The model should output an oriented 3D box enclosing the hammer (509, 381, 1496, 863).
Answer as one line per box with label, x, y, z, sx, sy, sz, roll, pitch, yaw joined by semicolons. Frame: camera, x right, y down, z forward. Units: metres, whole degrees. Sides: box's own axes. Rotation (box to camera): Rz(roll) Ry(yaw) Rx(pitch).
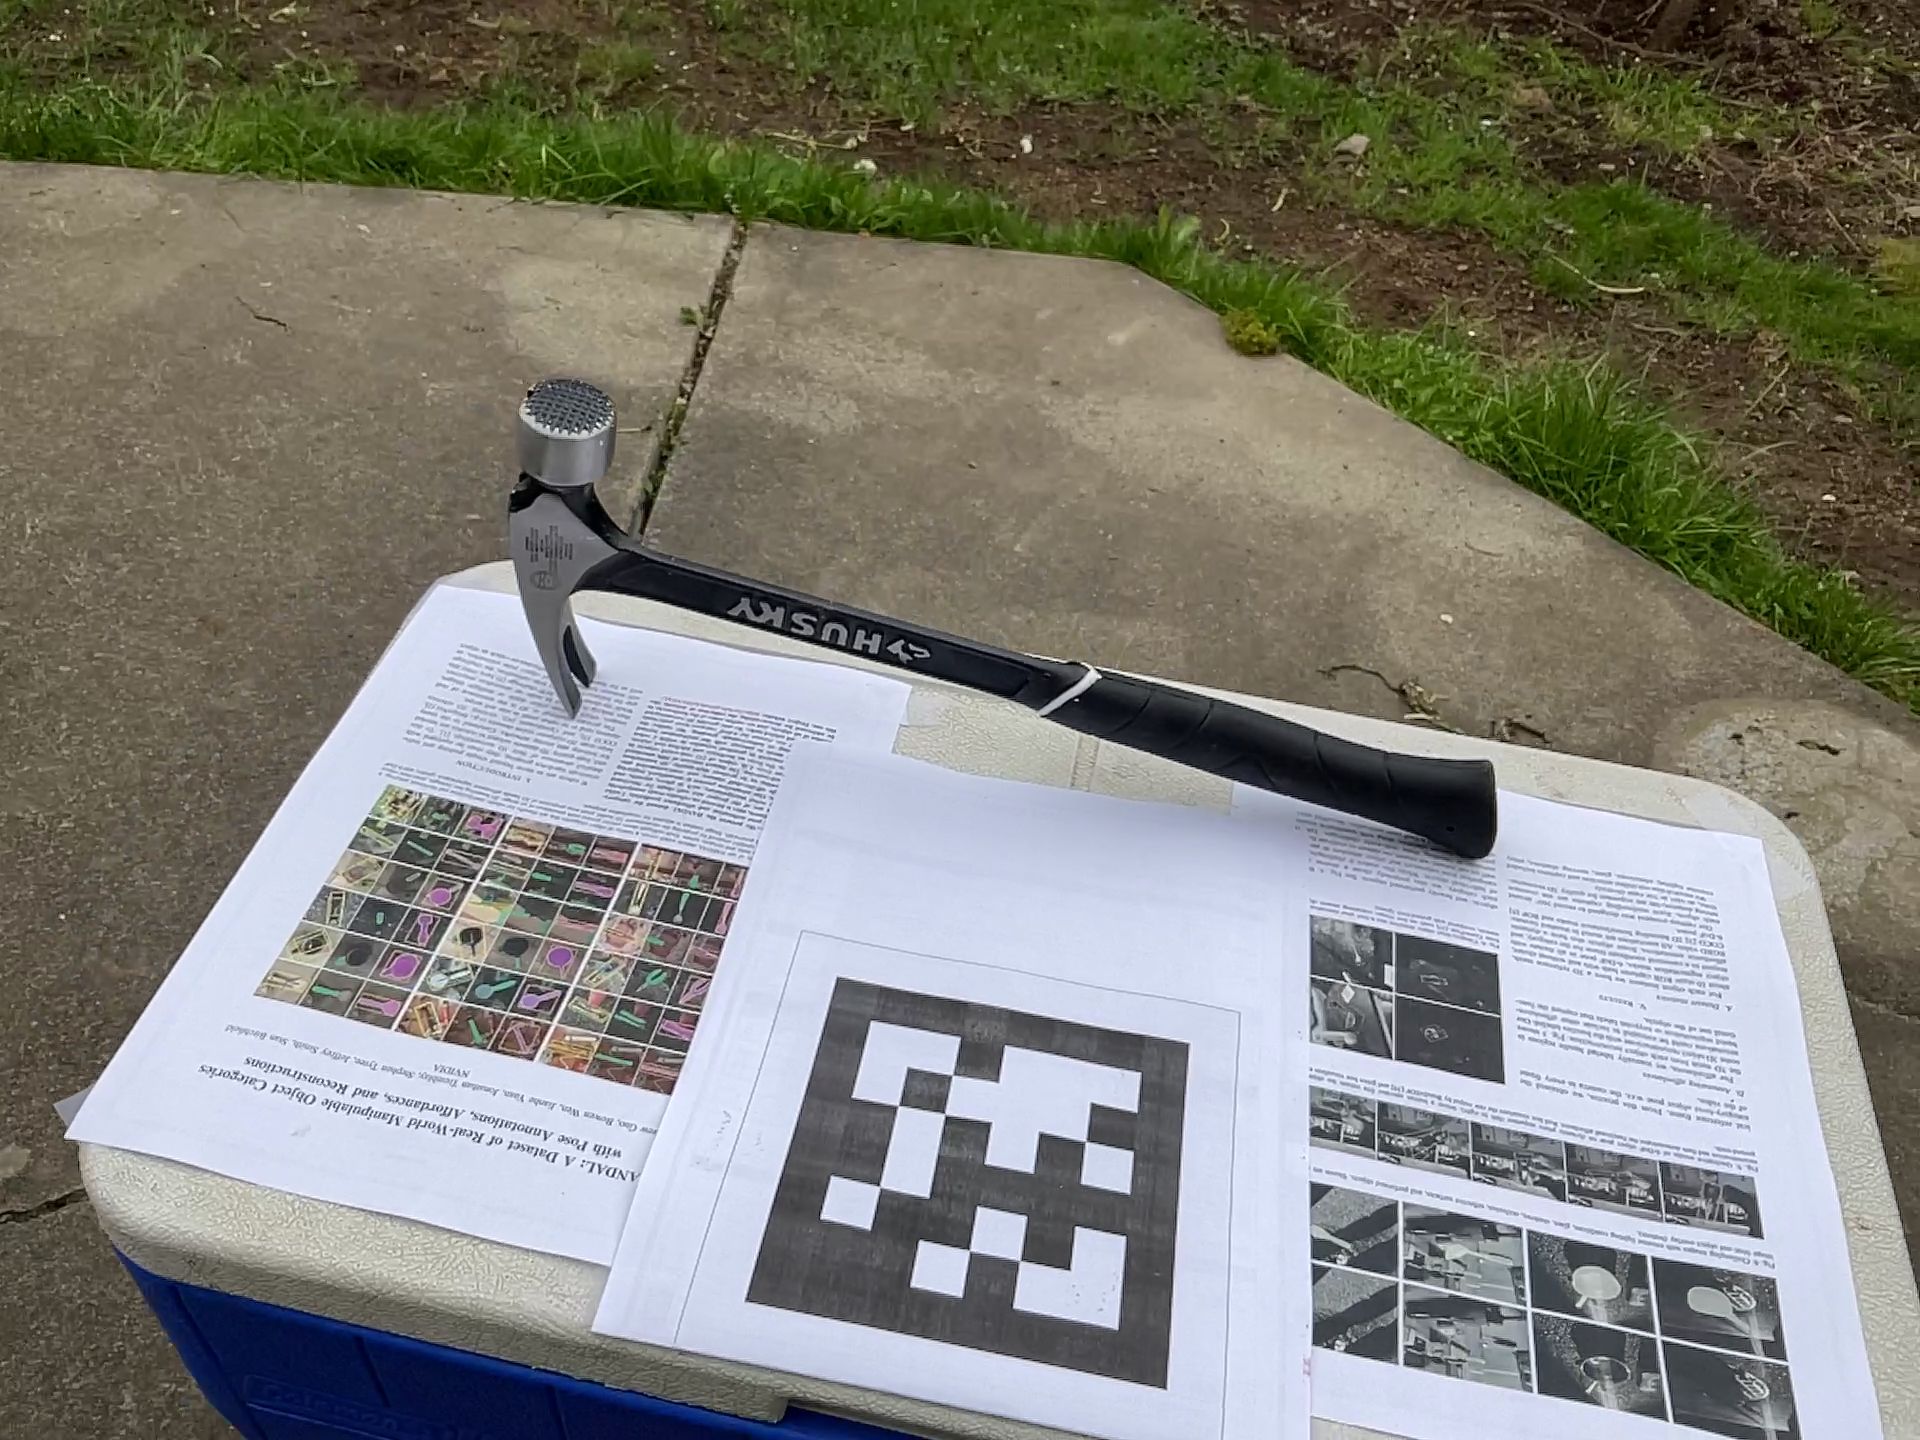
hammer;0.021;-0.012;0.637;0.409;0.149;0.036;16;45;-3
